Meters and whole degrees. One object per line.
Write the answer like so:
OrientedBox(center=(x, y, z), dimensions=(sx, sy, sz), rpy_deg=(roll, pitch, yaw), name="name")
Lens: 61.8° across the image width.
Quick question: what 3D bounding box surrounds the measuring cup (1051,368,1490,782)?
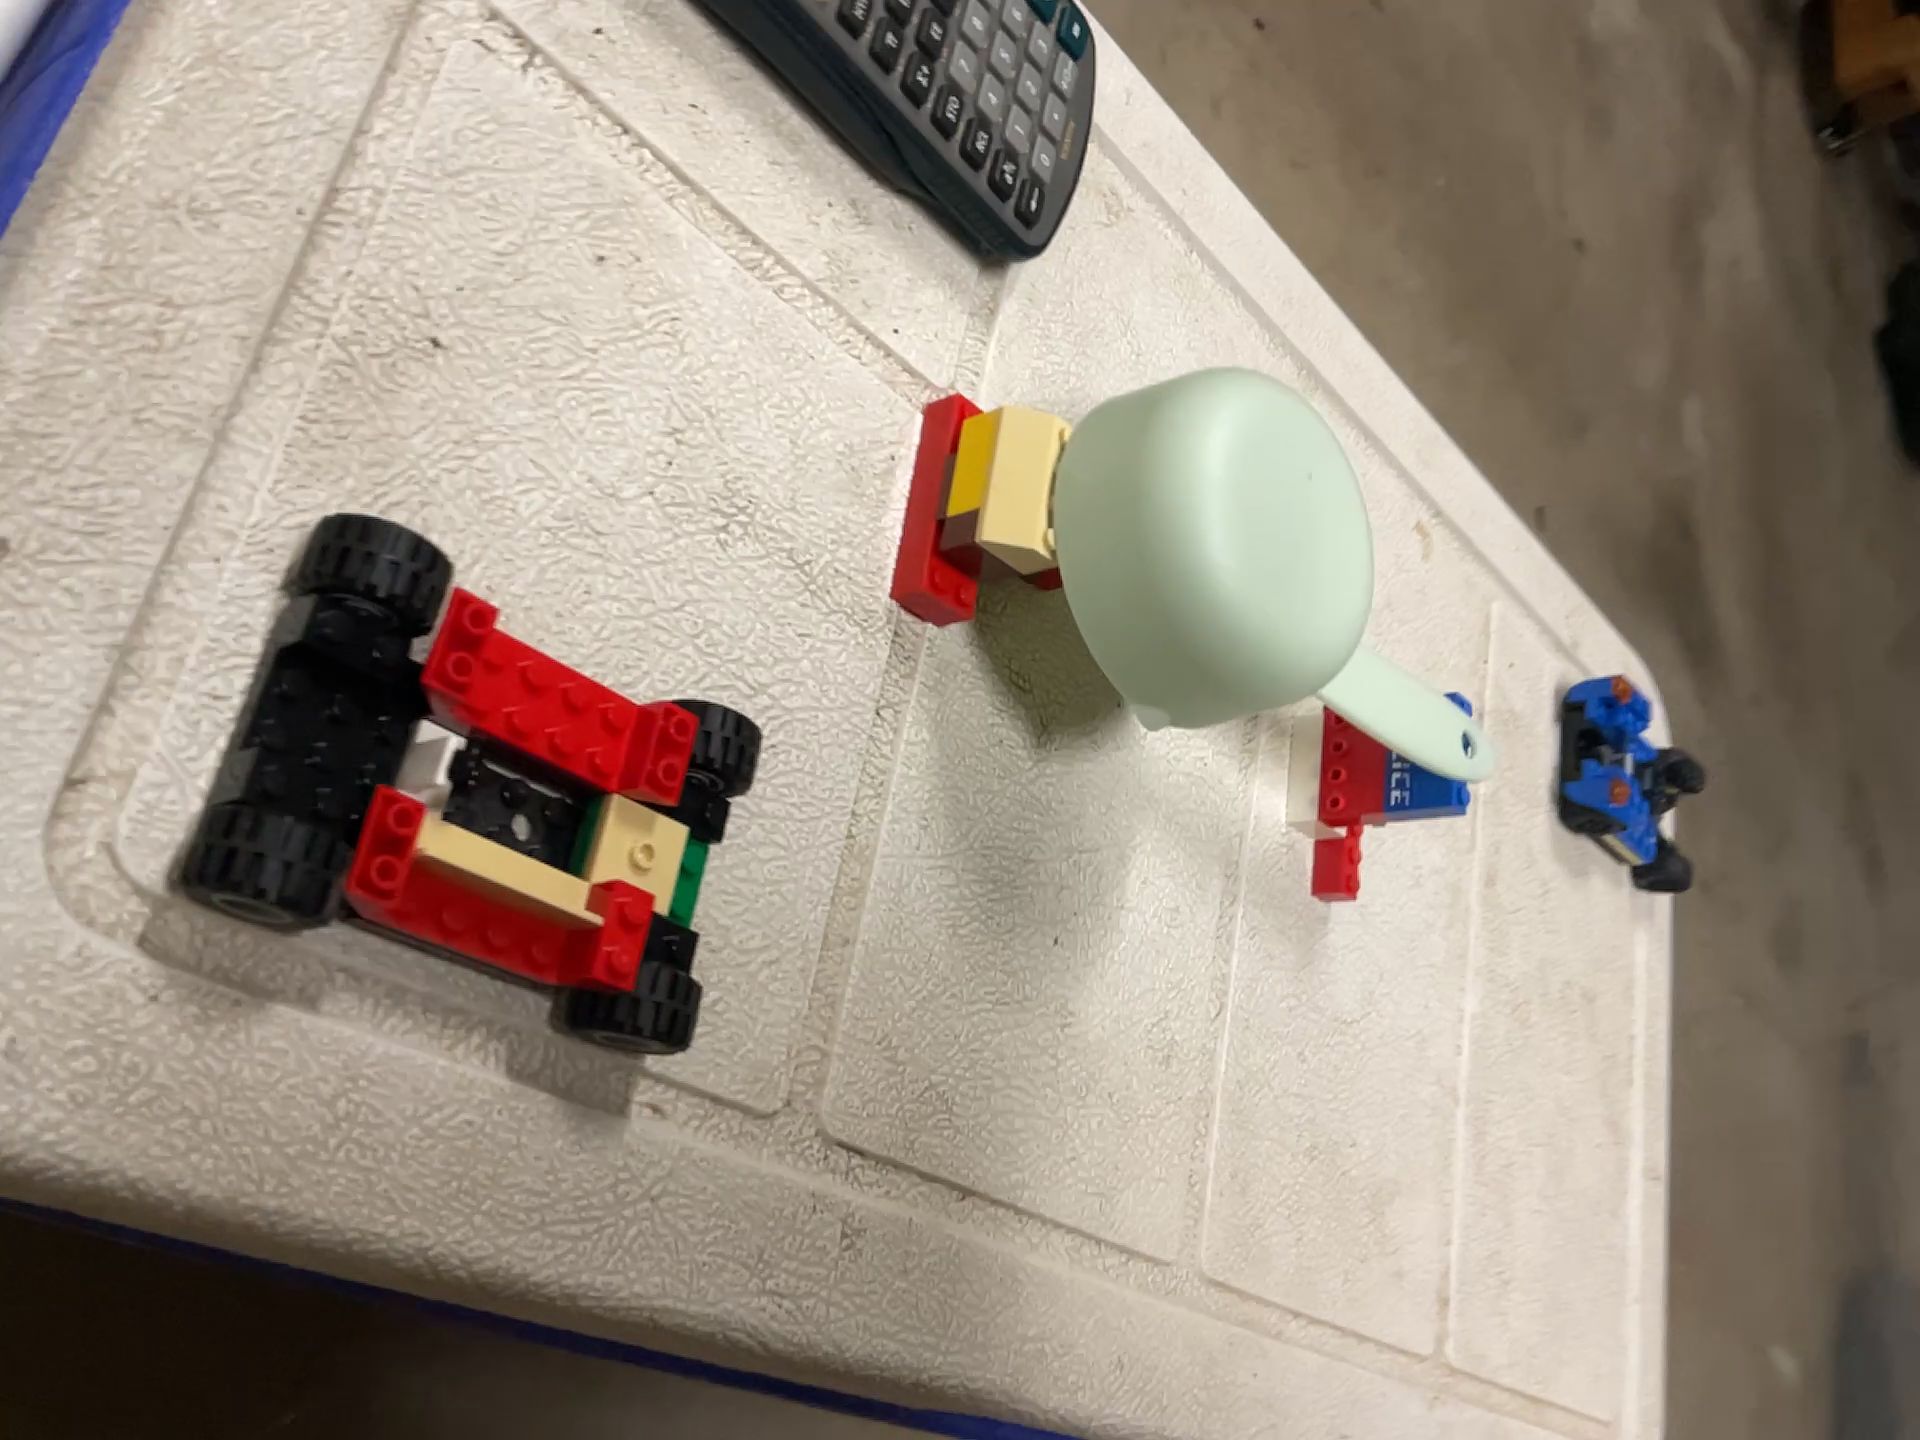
OrientedBox(center=(0.091, -0.022, 0.372), dimensions=(0.168, 0.038, 0.083), rpy_deg=(27, 62, -36), name="measuring cup")
